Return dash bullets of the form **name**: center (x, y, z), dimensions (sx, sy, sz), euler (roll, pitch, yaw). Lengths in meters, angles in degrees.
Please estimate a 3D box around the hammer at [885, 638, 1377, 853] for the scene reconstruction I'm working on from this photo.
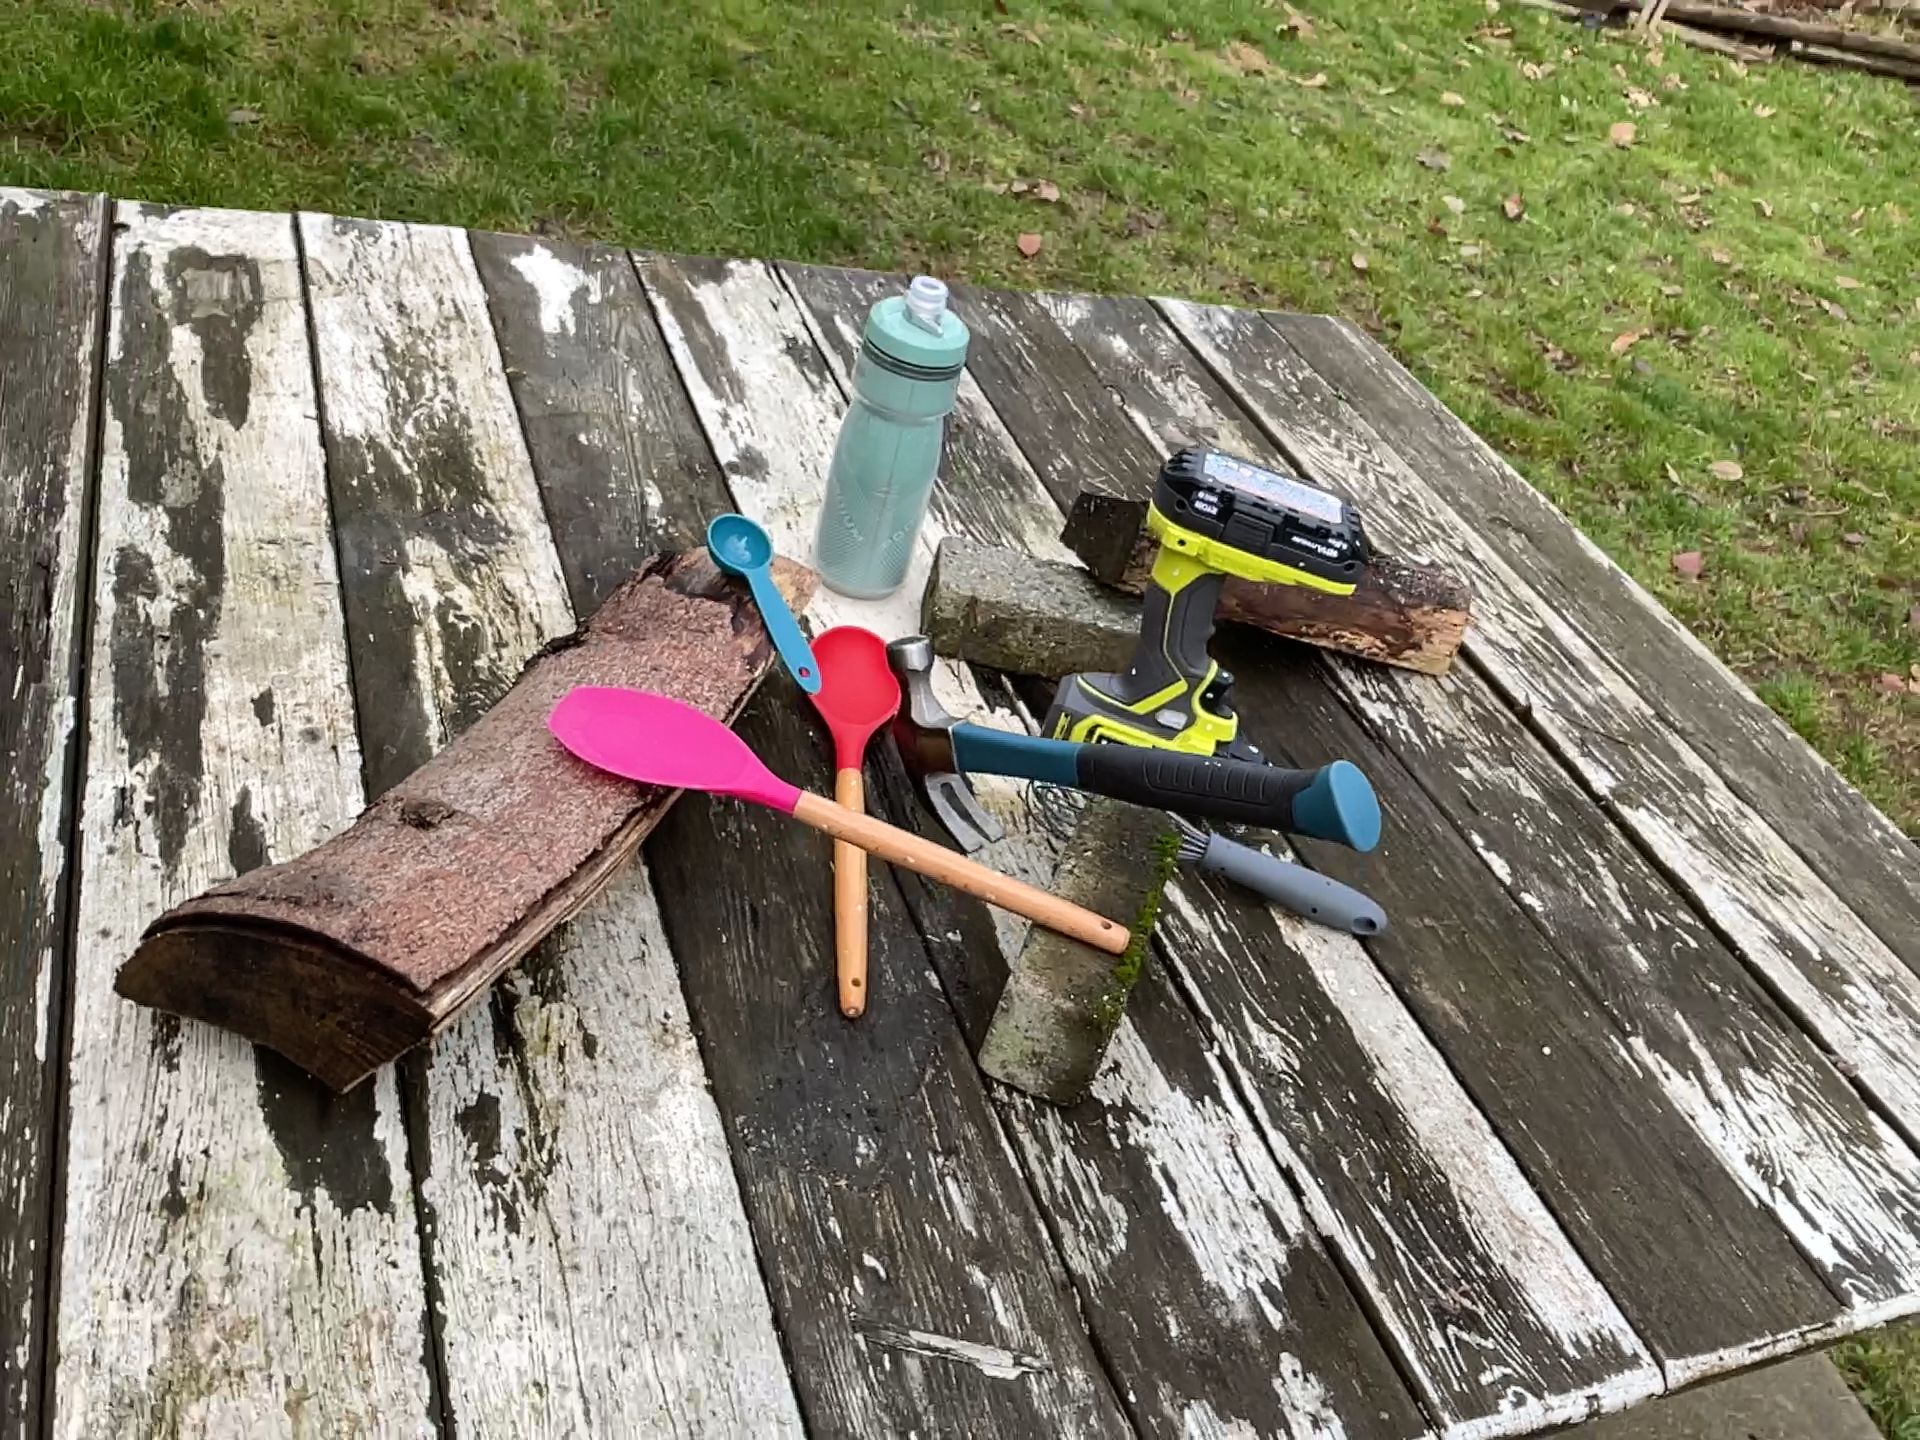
- **hammer**: center (0.082, 0.027, 0.890), dimensions (0.033, 0.128, 0.331), euler (-24, 21, -39)

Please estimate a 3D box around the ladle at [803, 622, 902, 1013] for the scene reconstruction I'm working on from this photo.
- **ladle**: center (-0.066, 0.049, 0.966), dimensions (0.069, 0.031, 0.316), euler (11, 40, -13)

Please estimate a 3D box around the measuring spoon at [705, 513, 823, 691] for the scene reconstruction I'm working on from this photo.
- **measuring spoon**: center (-0.118, -0.068, 0.965), dimensions (0.042, 0.021, 0.129), euler (-17, 71, -38)

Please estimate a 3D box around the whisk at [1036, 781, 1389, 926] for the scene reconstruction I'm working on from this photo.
- **whisk**: center (0.157, 0.079, 0.995), dimensions (0.239, 0.055, 0.055), euler (21, 45, -1)

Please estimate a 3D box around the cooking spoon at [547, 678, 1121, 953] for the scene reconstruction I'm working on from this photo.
- **cooking spoon**: center (-0.064, 0.052, 0.829), dimensions (0.319, 0.017, 0.069), euler (24, 36, 0)

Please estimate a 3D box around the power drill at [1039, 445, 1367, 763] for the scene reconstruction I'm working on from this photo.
- **power drill**: center (0.165, -0.047, 1.022), dimensions (0.171, 0.223, 0.080), euler (20, 29, 1)
